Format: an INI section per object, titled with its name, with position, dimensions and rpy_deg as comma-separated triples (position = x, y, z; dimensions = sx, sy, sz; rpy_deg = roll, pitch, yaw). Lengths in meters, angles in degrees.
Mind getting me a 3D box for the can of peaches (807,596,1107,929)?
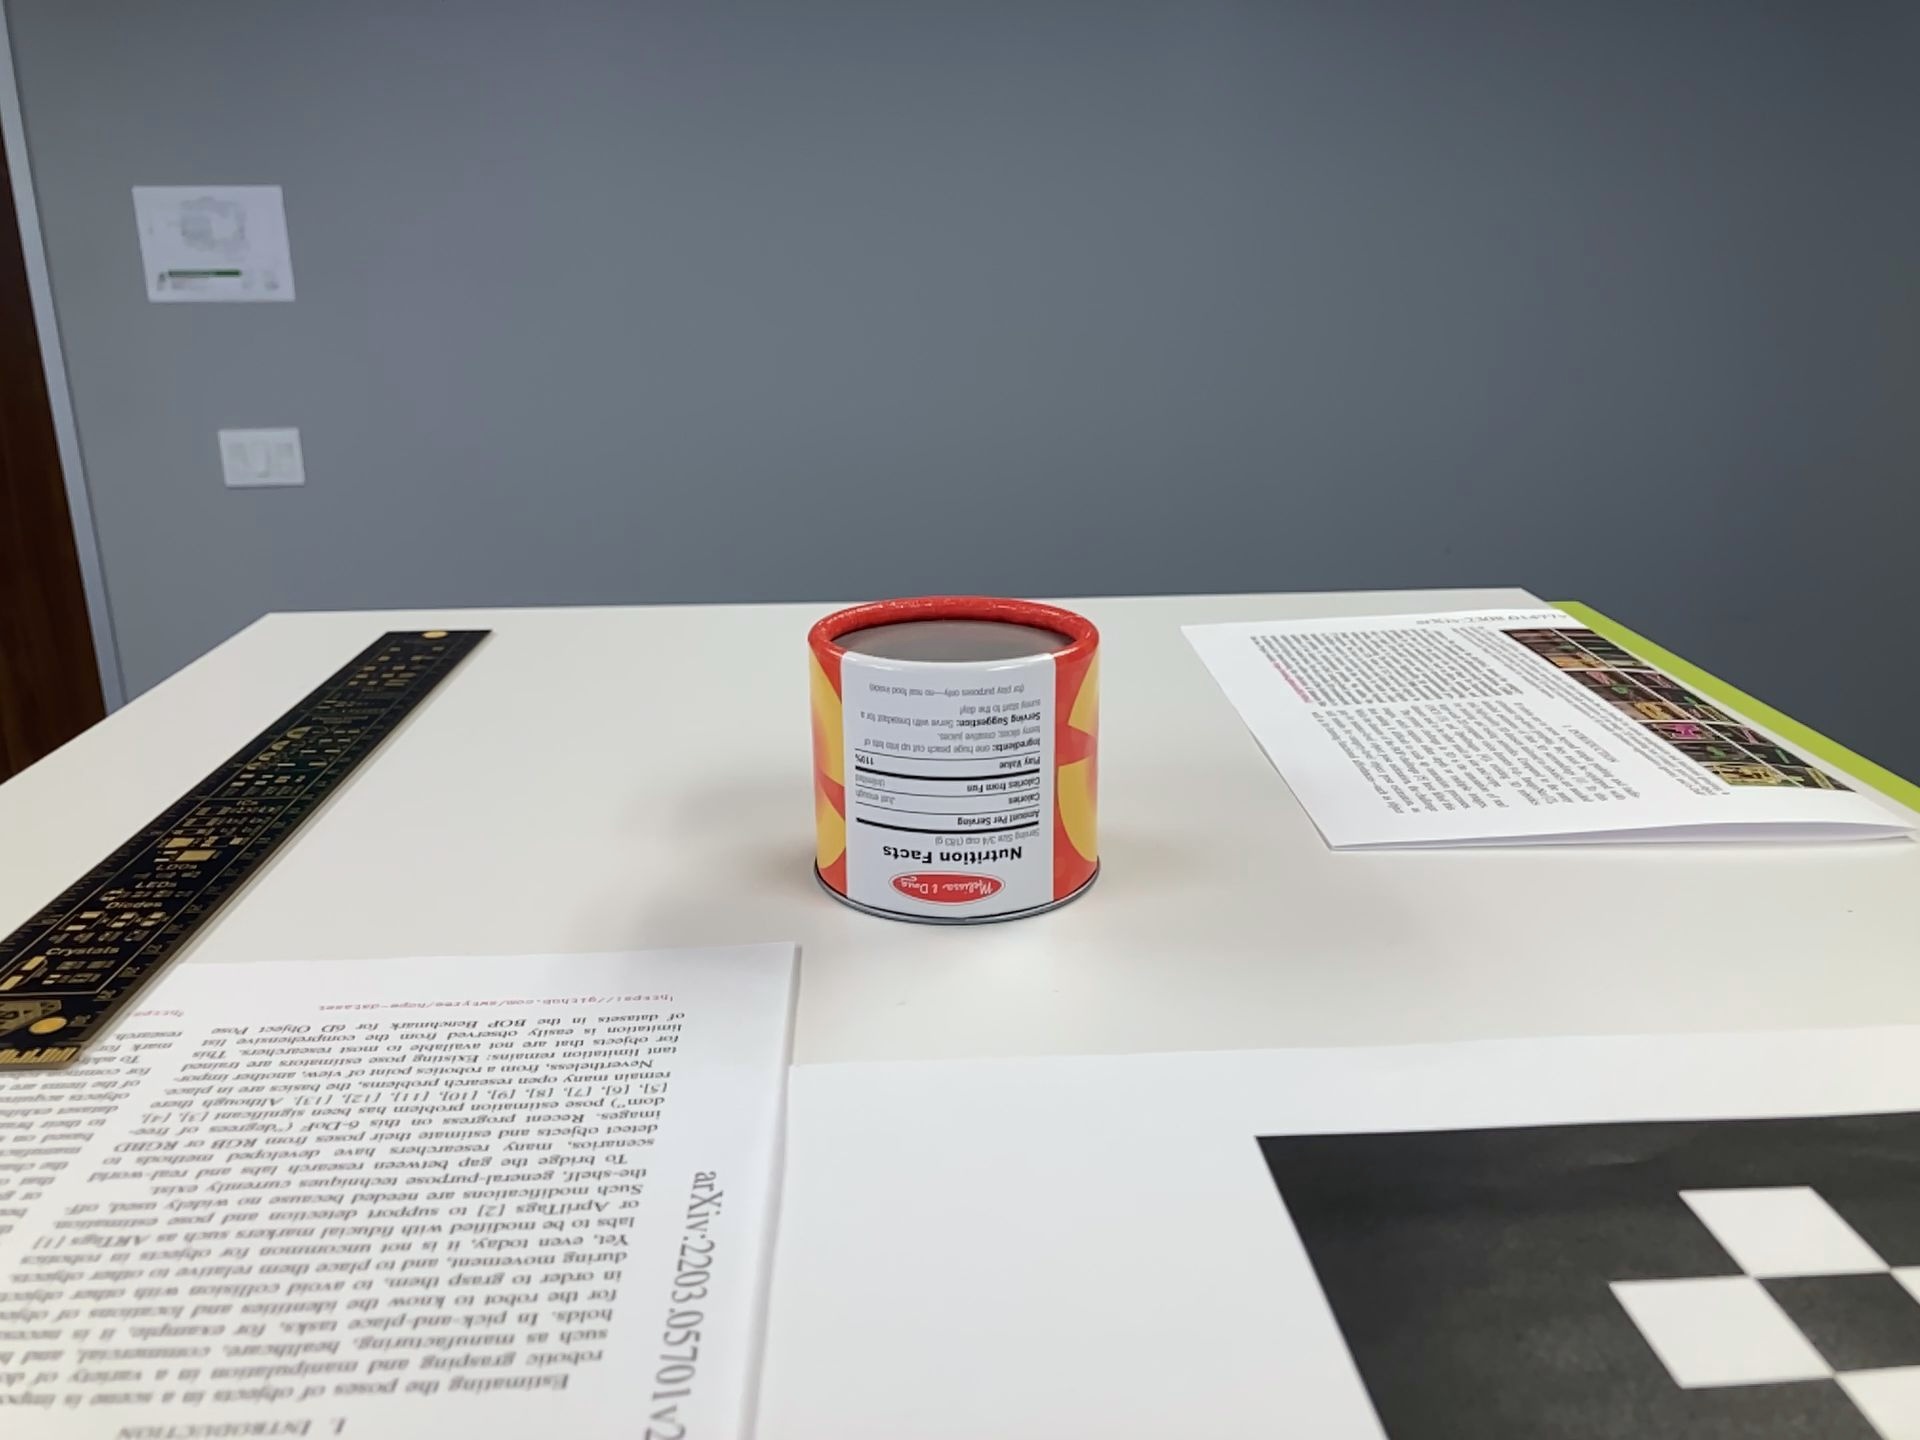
[can of peaches]
position = -0.001, 0.006, 0.357
dimensions = 0.071, 0.058, 0.071
rpy_deg = -1, 18, 0
